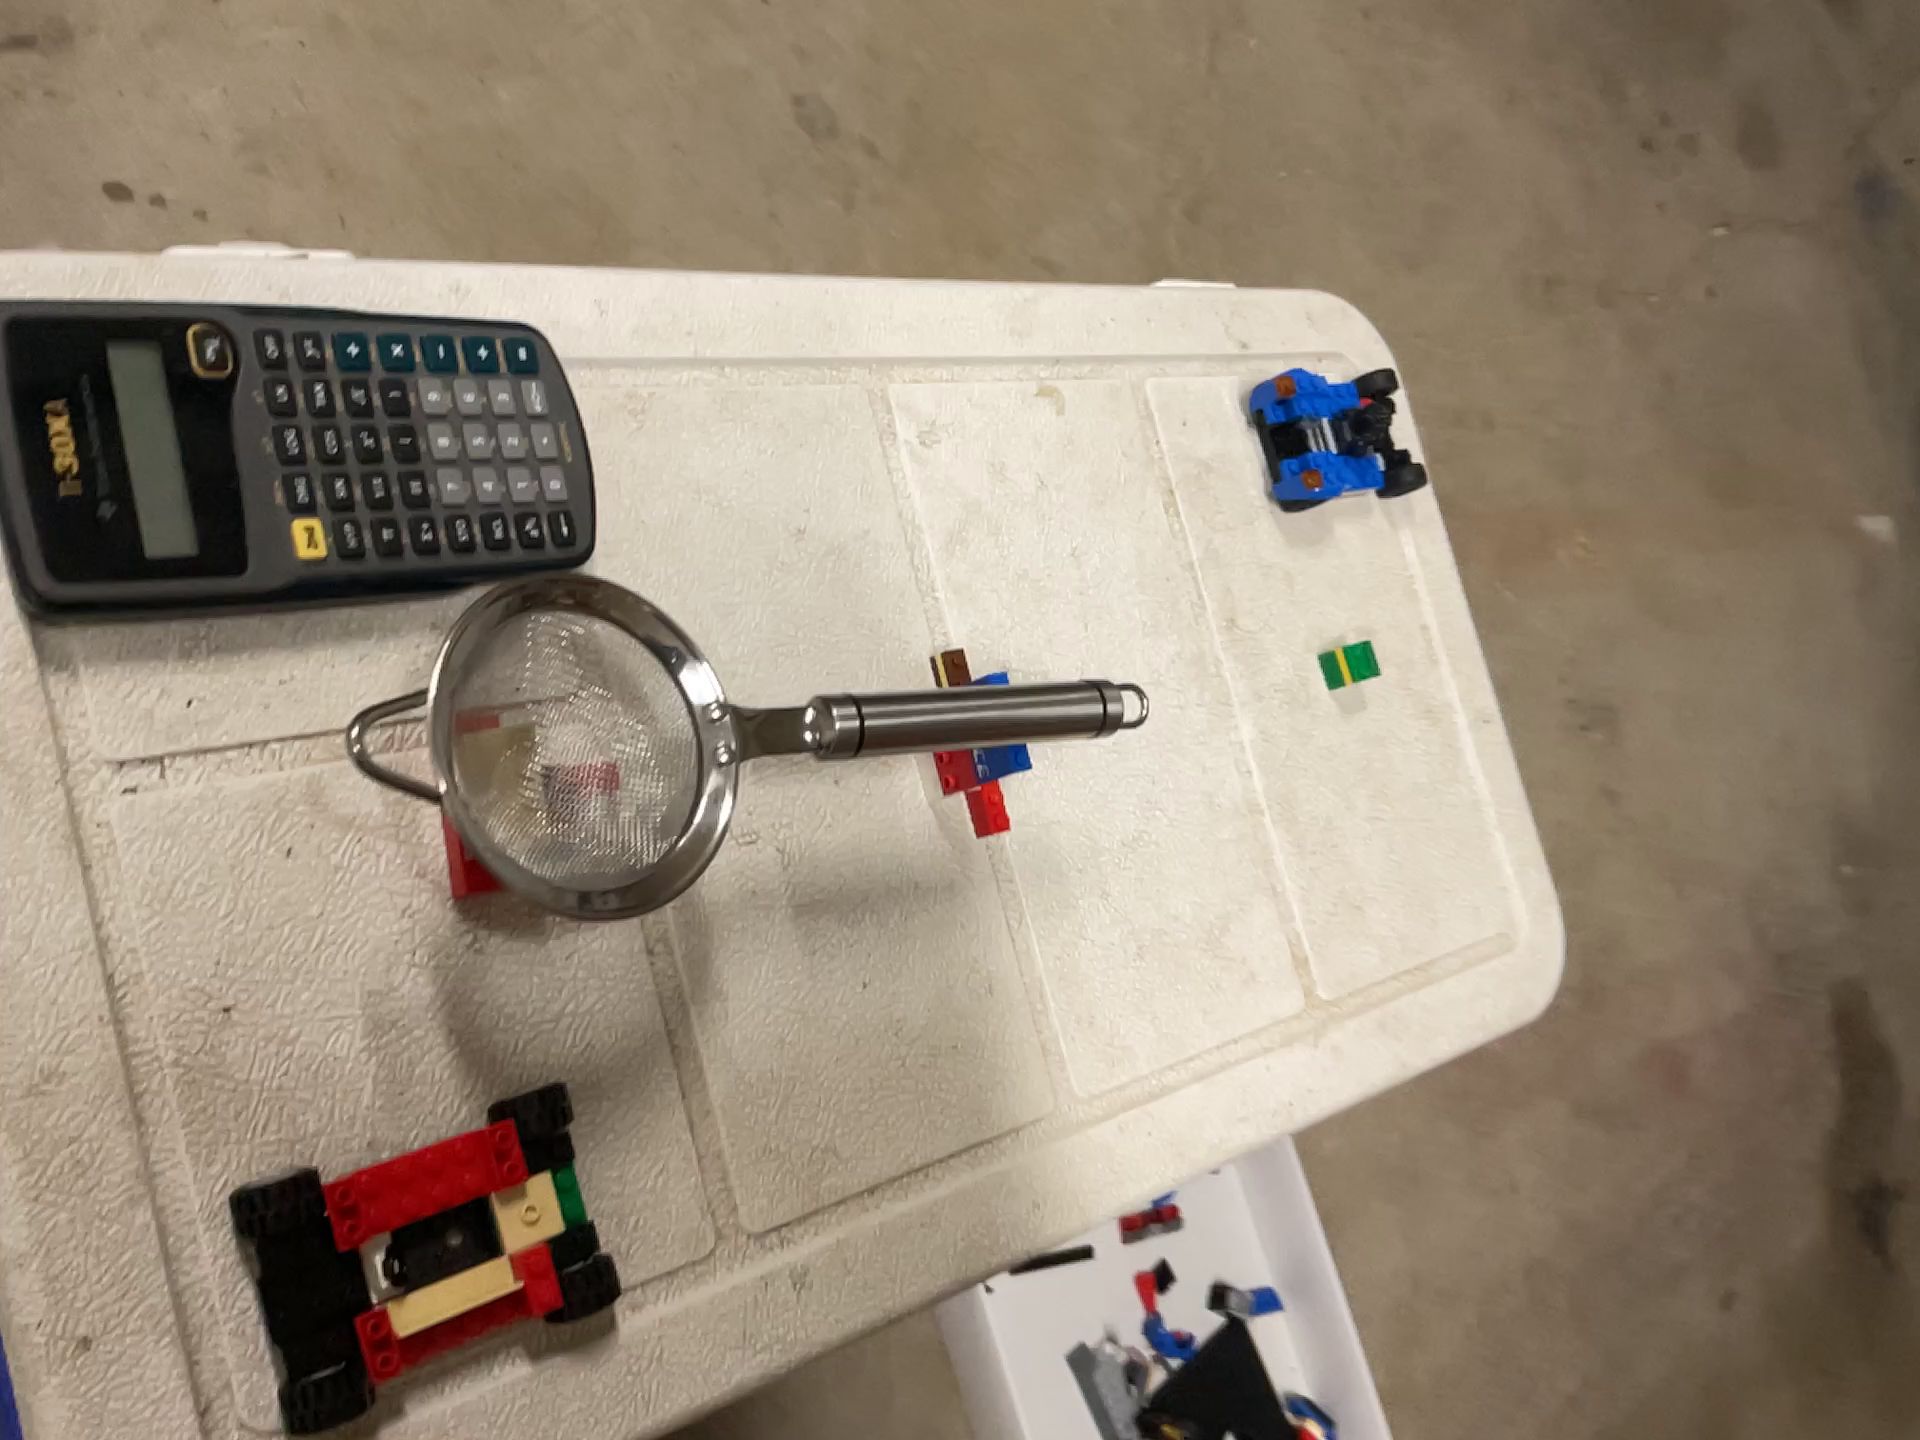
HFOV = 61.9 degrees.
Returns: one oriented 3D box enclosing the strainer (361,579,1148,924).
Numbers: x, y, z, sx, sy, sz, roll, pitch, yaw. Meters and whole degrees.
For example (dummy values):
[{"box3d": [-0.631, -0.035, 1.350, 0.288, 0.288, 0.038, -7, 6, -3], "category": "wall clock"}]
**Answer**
[{"box3d": [-0.041, 0.005, 0.443, 0.259, 0.050, 0.087, -5, 81, -38], "category": "strainer"}]
